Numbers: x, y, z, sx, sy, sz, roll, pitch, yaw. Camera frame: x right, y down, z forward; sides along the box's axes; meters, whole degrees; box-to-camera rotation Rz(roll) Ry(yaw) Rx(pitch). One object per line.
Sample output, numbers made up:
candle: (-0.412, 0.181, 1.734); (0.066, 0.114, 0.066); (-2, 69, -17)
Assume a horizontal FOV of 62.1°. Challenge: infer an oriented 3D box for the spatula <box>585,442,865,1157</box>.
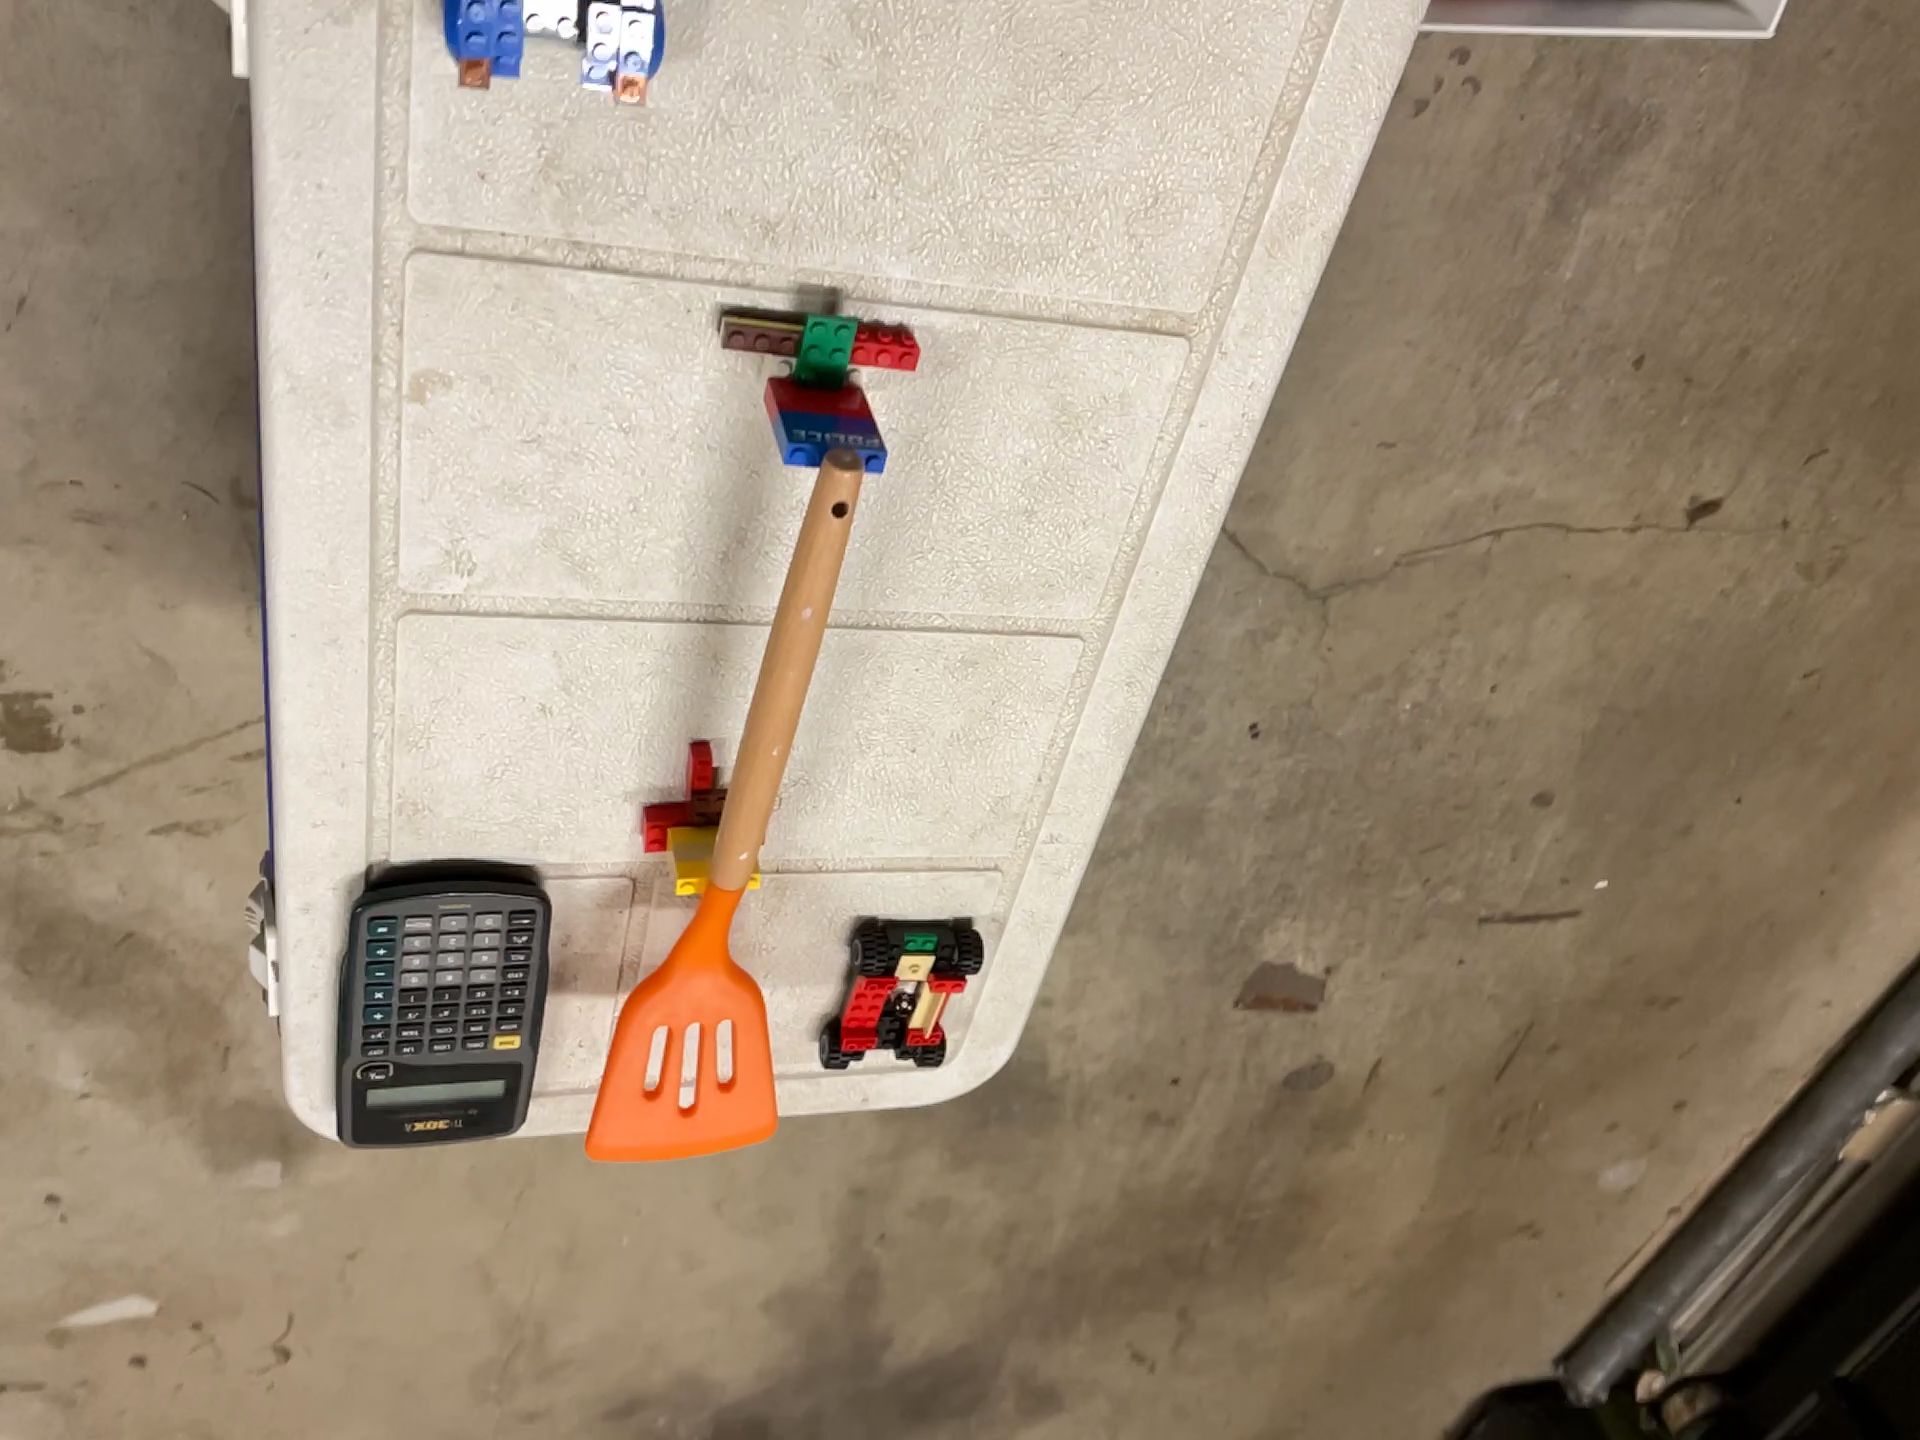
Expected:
spatula: (-0.076, 0.045, 0.572); (0.081, 0.041, 0.322); (0, 132, -24)
